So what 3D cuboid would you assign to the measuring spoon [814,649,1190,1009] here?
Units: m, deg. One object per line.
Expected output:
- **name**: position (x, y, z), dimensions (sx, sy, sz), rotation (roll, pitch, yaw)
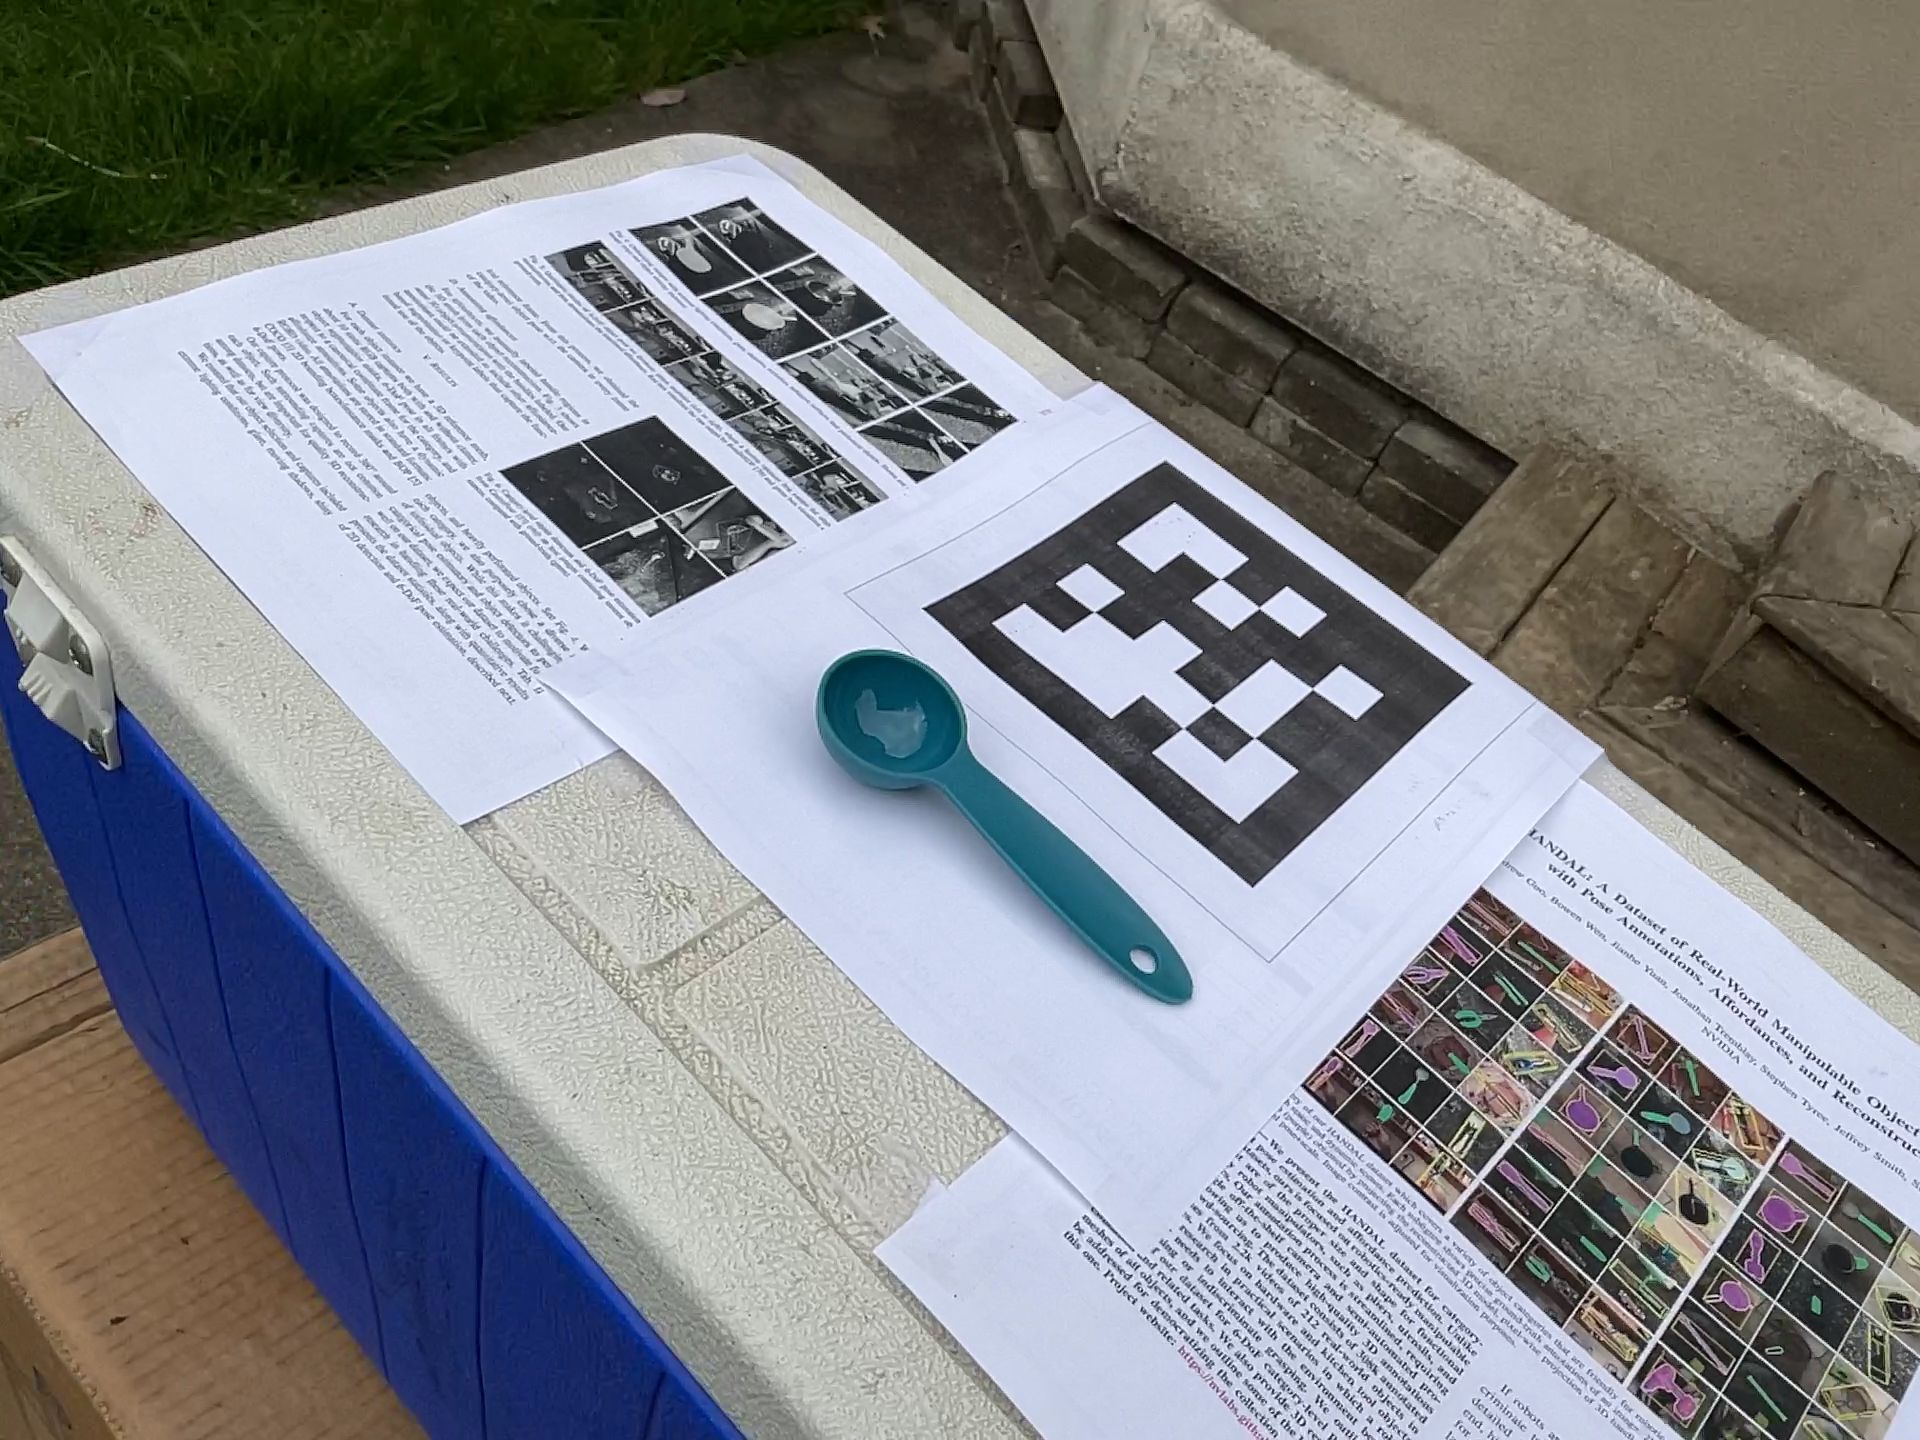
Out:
- **measuring spoon**: position (0.009, 0.033, 0.426), dimensions (0.129, 0.021, 0.042), rotation (44, 49, 10)
